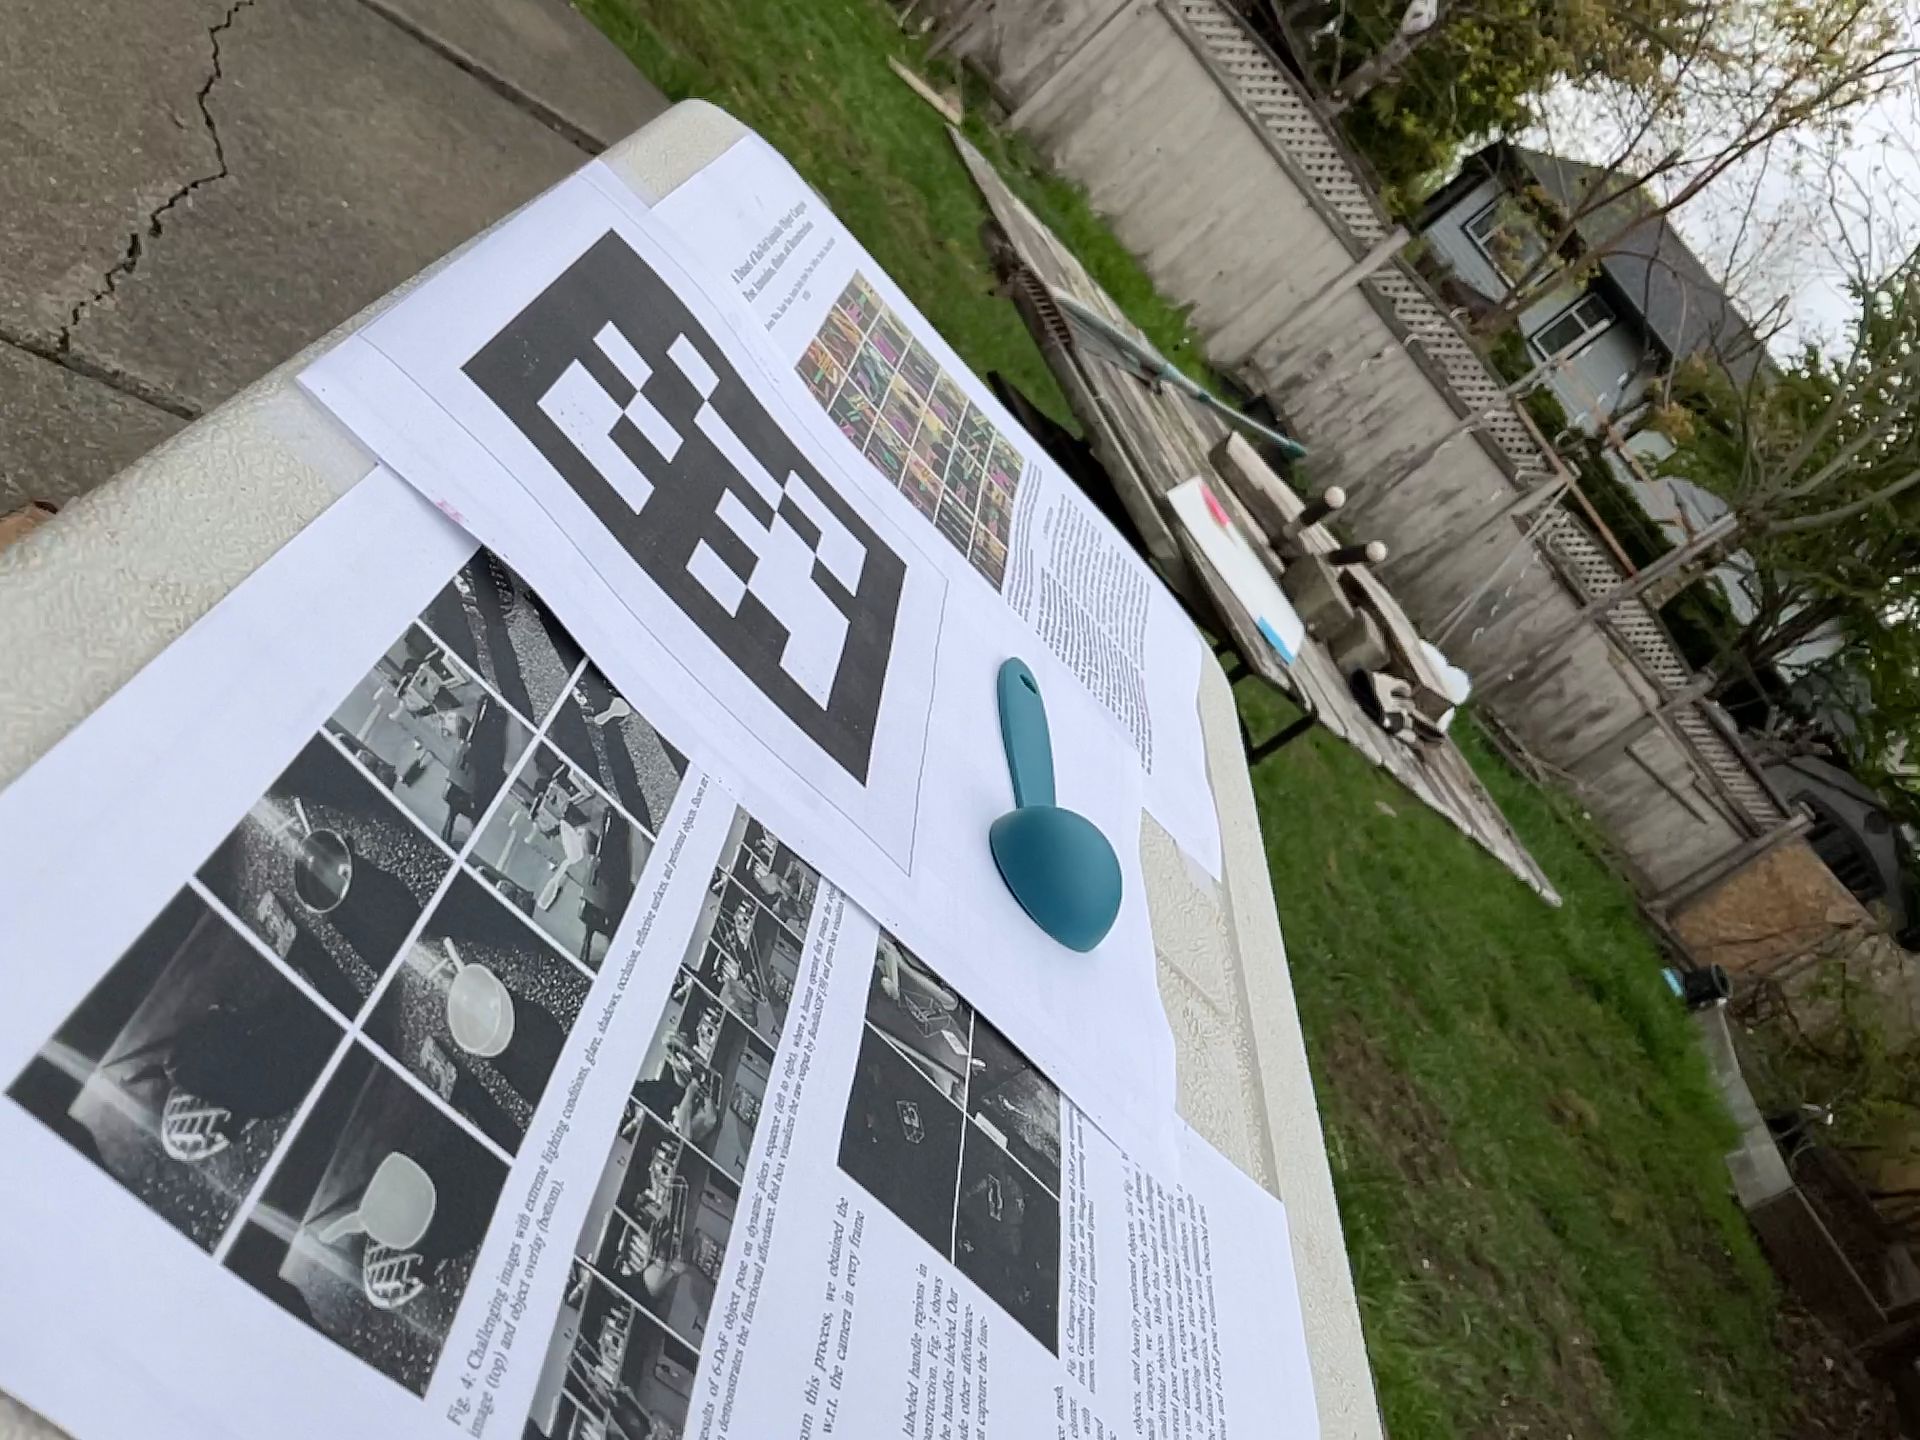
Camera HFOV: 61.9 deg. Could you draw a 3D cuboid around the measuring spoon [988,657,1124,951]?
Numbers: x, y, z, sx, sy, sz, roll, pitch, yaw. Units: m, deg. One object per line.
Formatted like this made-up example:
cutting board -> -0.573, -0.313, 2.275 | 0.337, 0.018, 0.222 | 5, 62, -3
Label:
measuring spoon -> 0.027, 0.013, 0.456 | 0.042, 0.021, 0.129 | 37, 25, -25
